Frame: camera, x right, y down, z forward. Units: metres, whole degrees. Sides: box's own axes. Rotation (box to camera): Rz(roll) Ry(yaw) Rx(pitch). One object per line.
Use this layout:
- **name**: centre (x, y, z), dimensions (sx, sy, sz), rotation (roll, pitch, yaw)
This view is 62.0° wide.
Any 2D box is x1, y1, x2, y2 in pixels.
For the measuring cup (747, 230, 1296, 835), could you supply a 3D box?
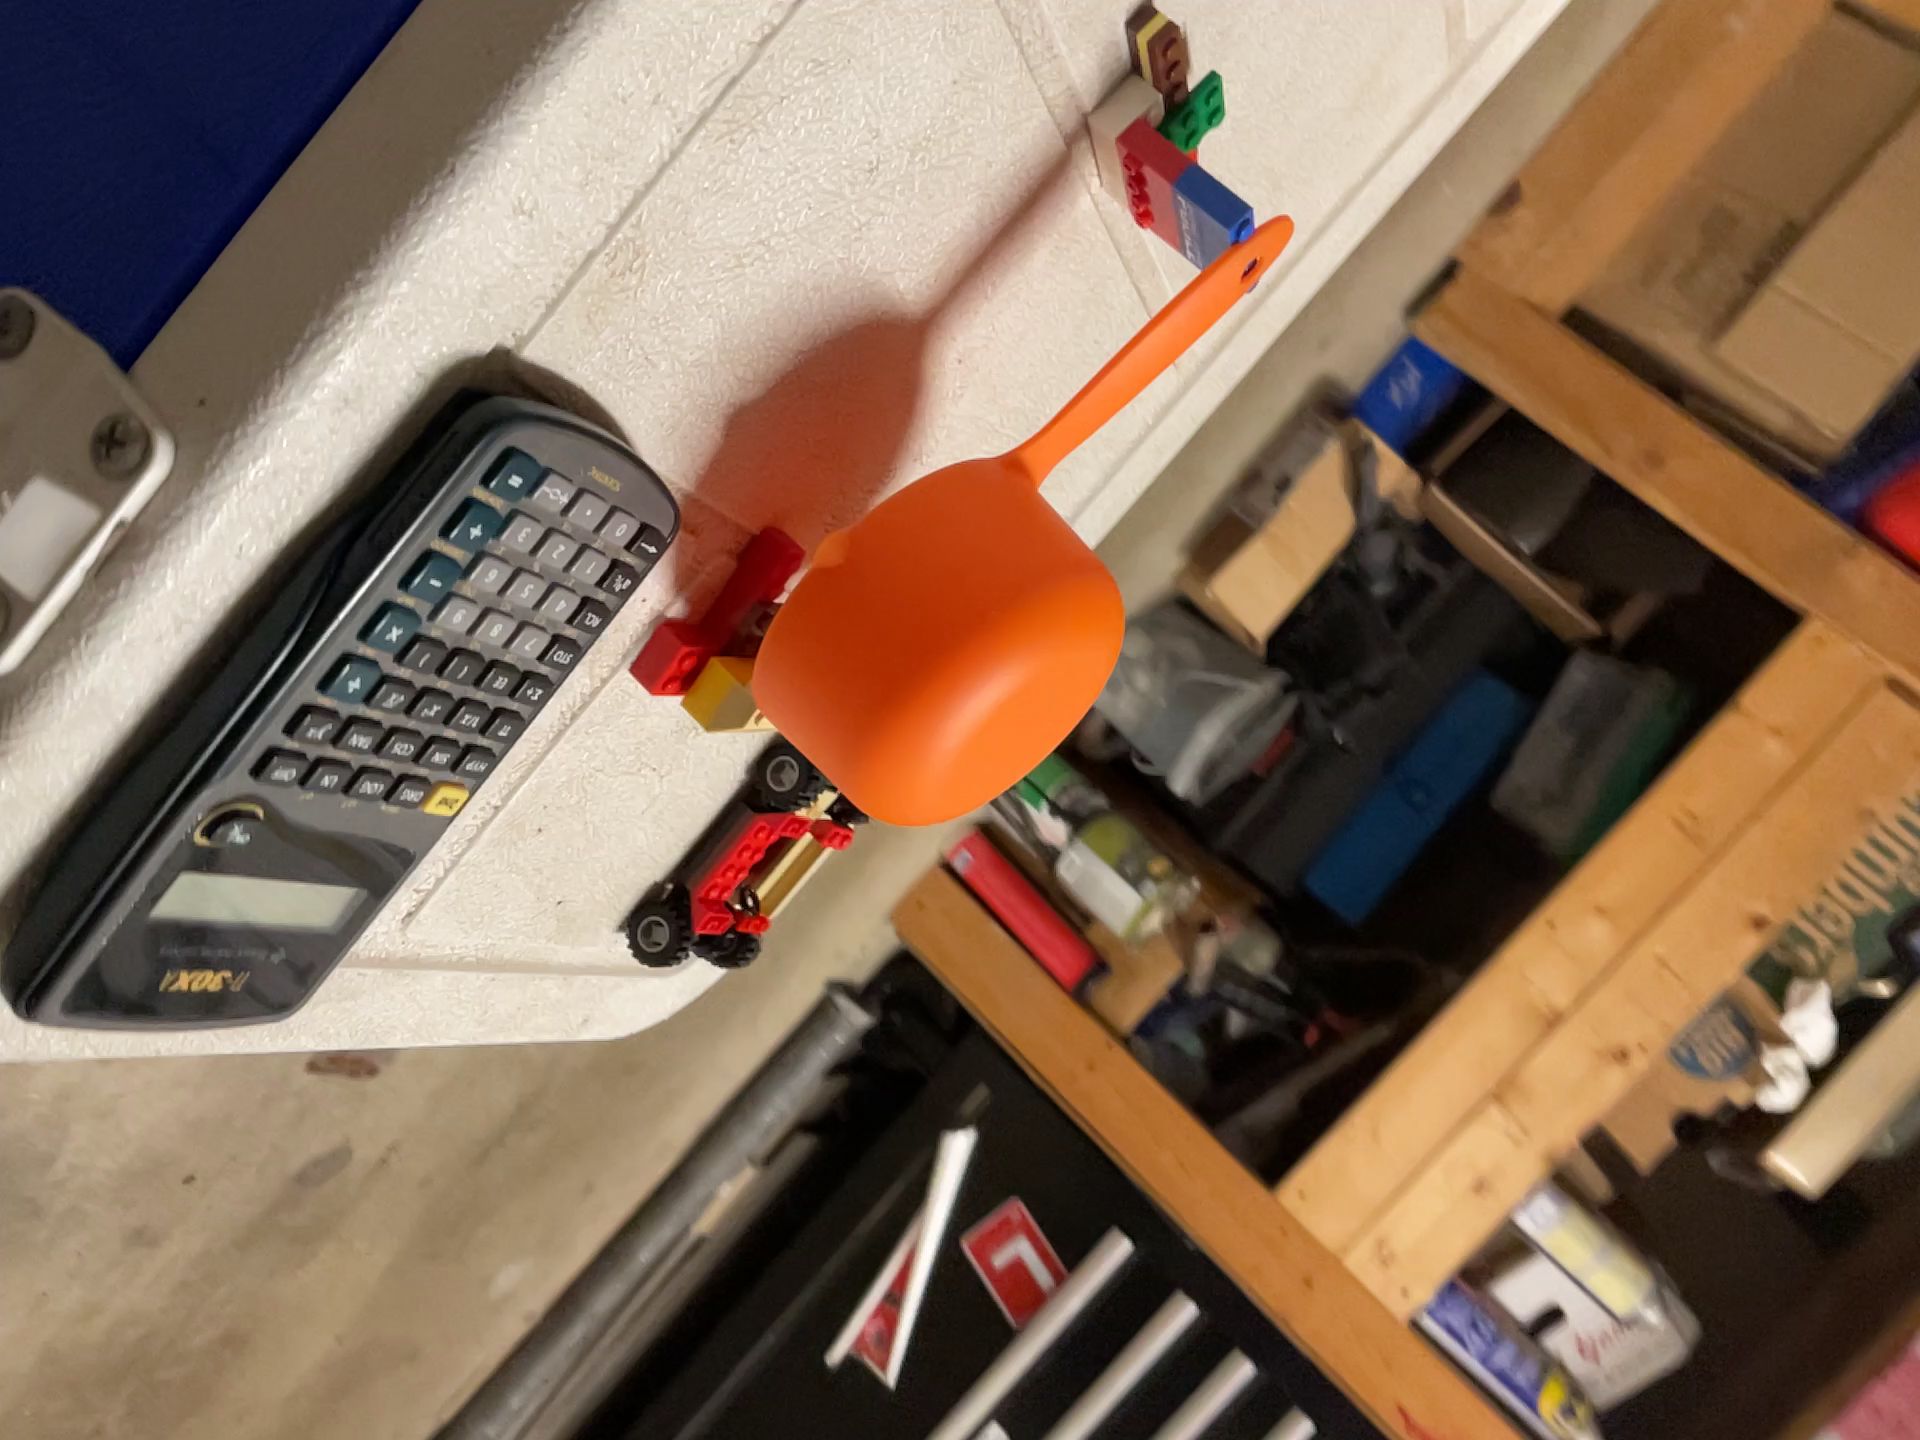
- **measuring cup**: centre (0.029, -0.042, 0.382), dimensions (0.173, 0.052, 0.095), rotation (-43, 161, 5)
